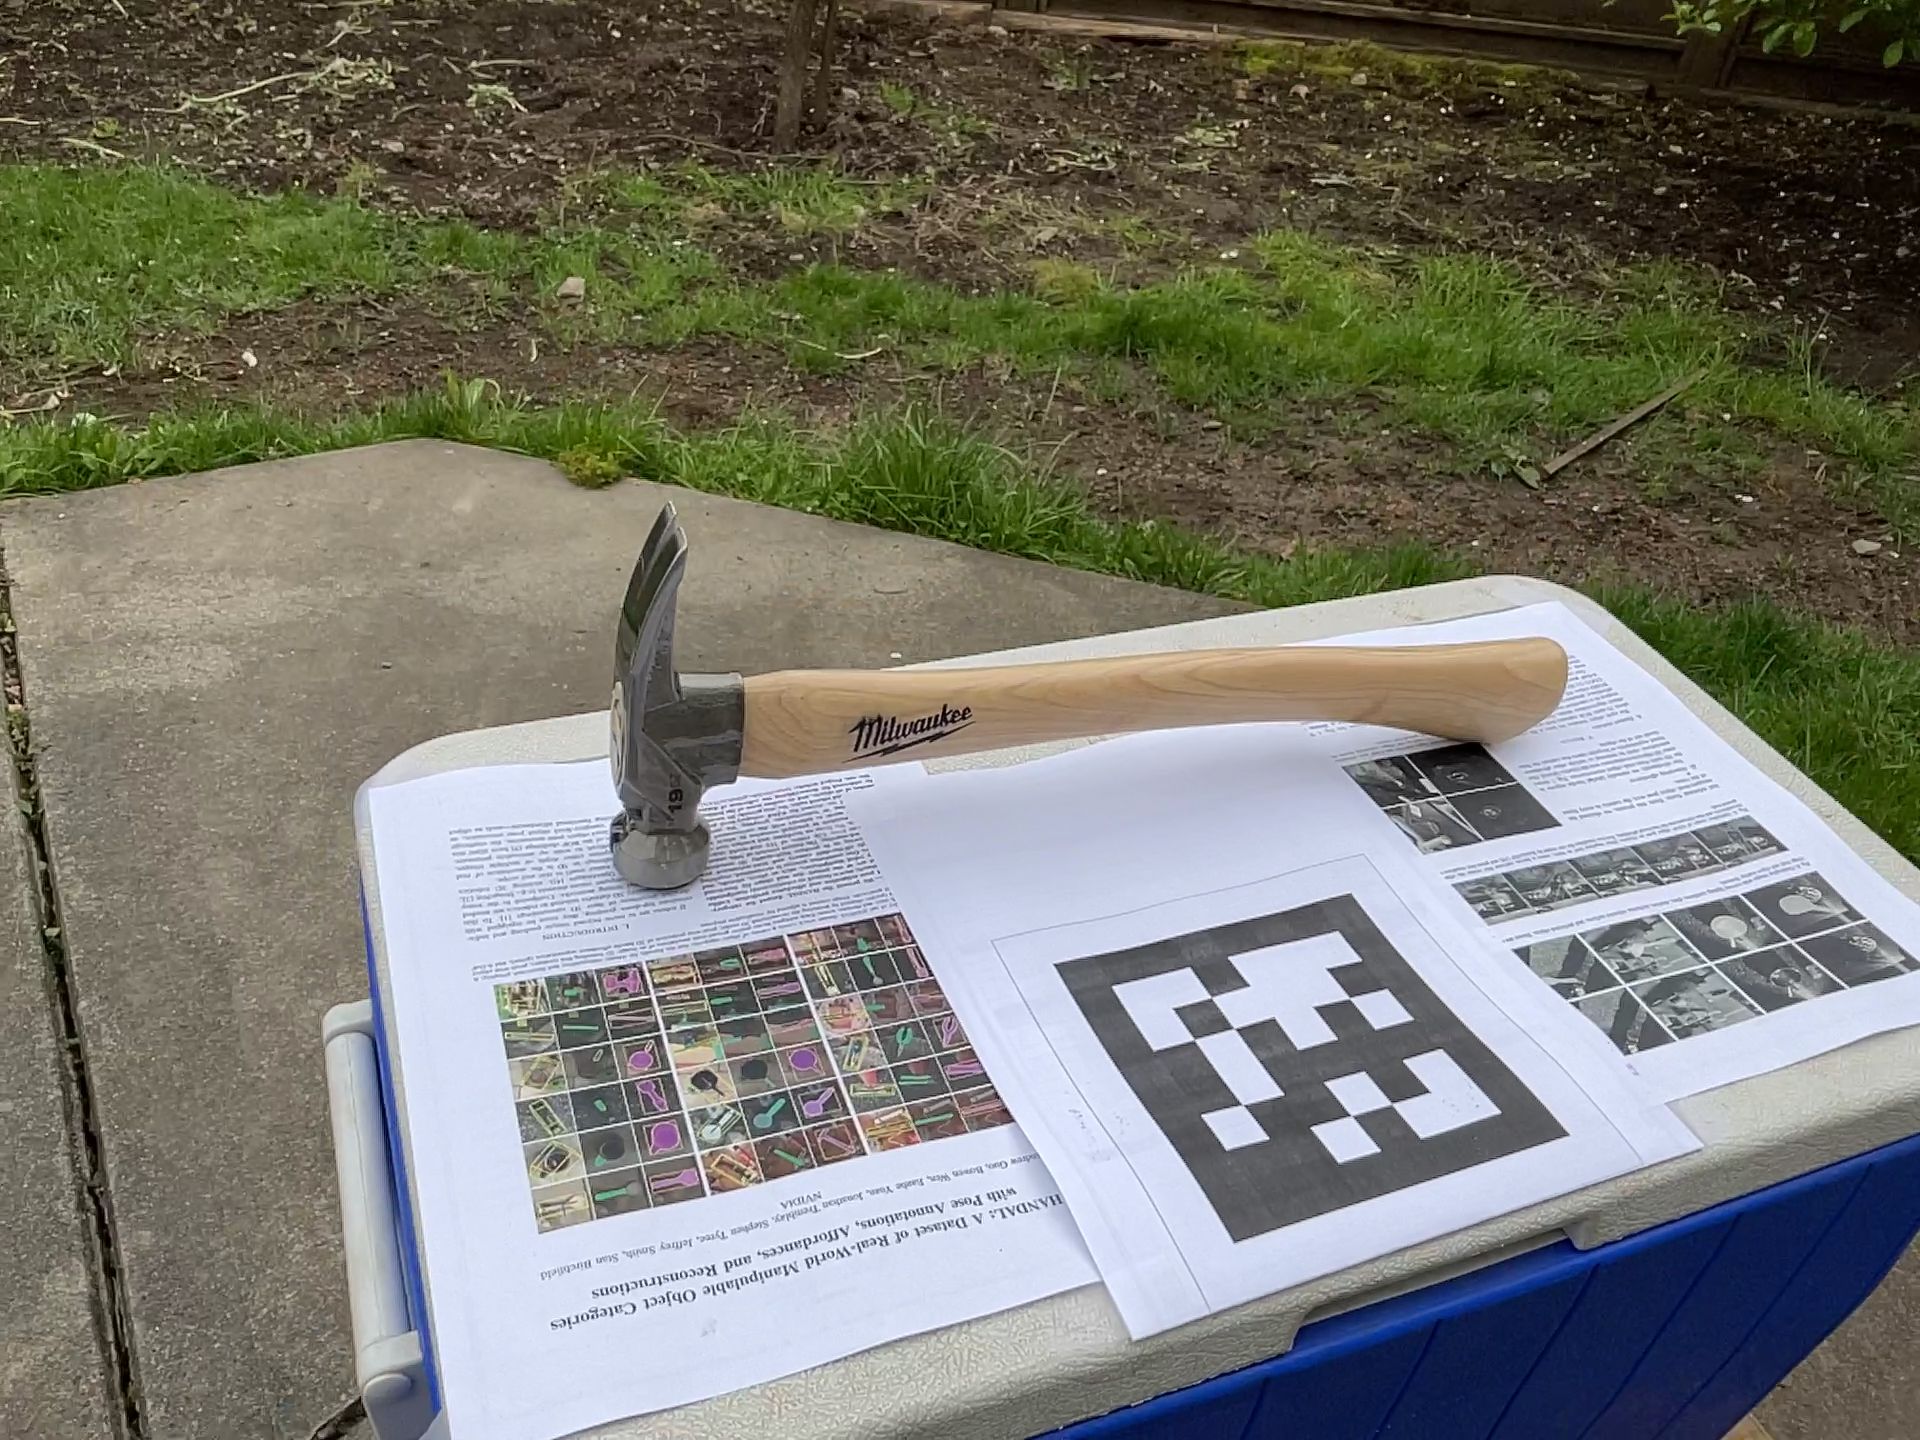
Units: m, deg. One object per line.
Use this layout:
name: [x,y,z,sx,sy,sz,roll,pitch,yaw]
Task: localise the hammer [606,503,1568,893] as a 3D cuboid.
hammer: [0.070,-0.016,0.629,0.410,0.146,0.038,-4,37,-21]
